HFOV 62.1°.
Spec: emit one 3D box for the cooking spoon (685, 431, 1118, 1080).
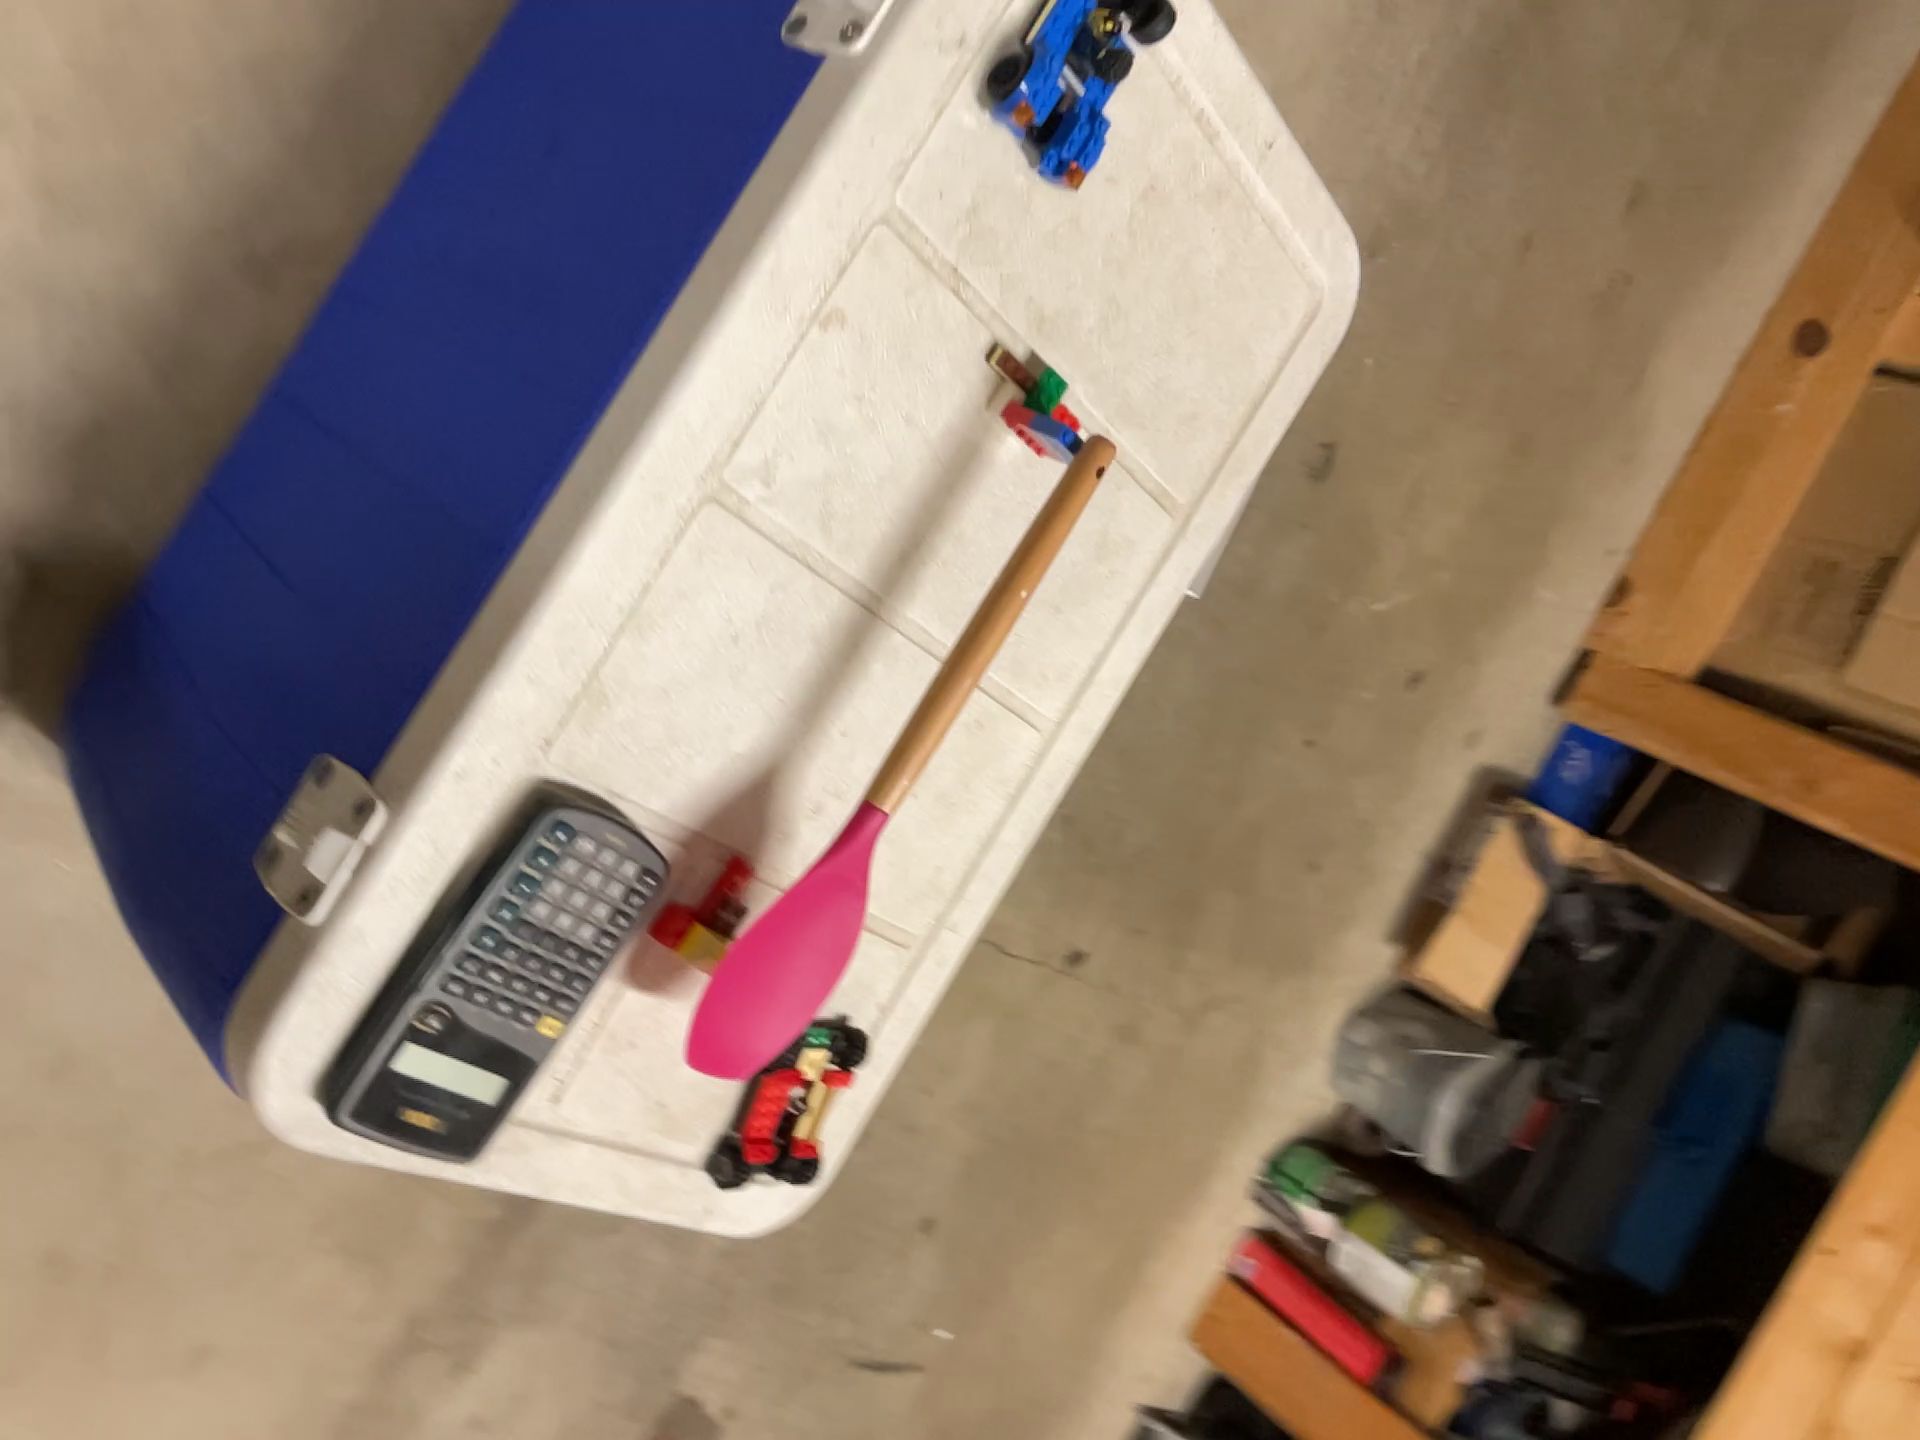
[{"bbox_3d":[-0.022,0.015,0.679,0.068,0.017,0.319,33,89,-48],"label":"cooking spoon"}]
